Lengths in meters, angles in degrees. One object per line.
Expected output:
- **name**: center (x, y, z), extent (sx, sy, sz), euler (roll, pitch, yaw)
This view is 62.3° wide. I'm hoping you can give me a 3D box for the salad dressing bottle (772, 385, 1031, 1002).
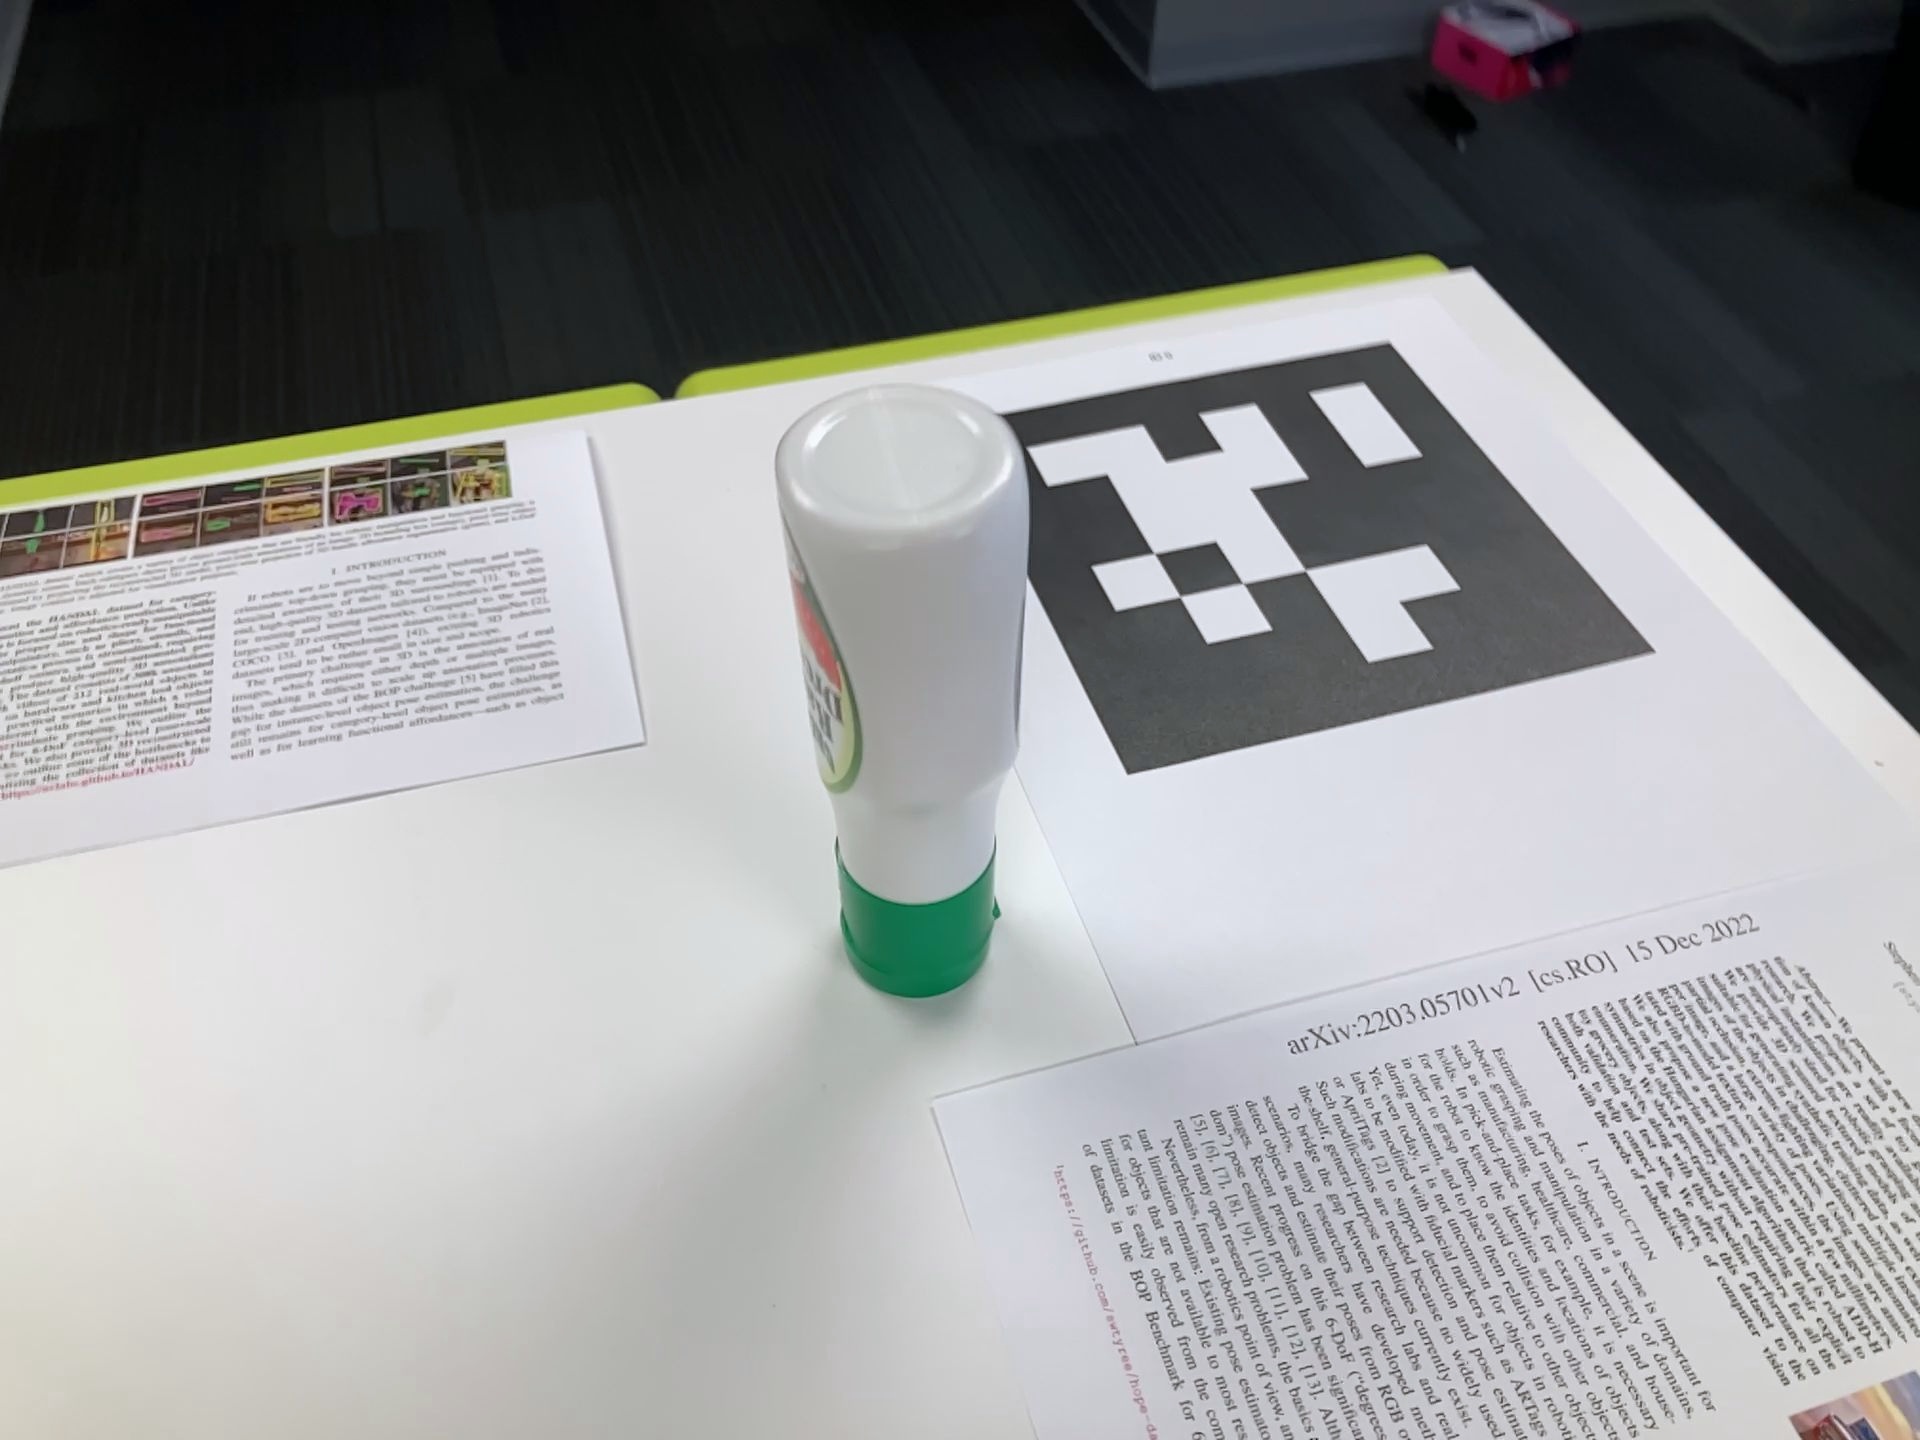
- **salad dressing bottle**: center (-0.010, 0.004, 0.328), extent (0.044, 0.147, 0.064), euler (-11, 48, -10)
